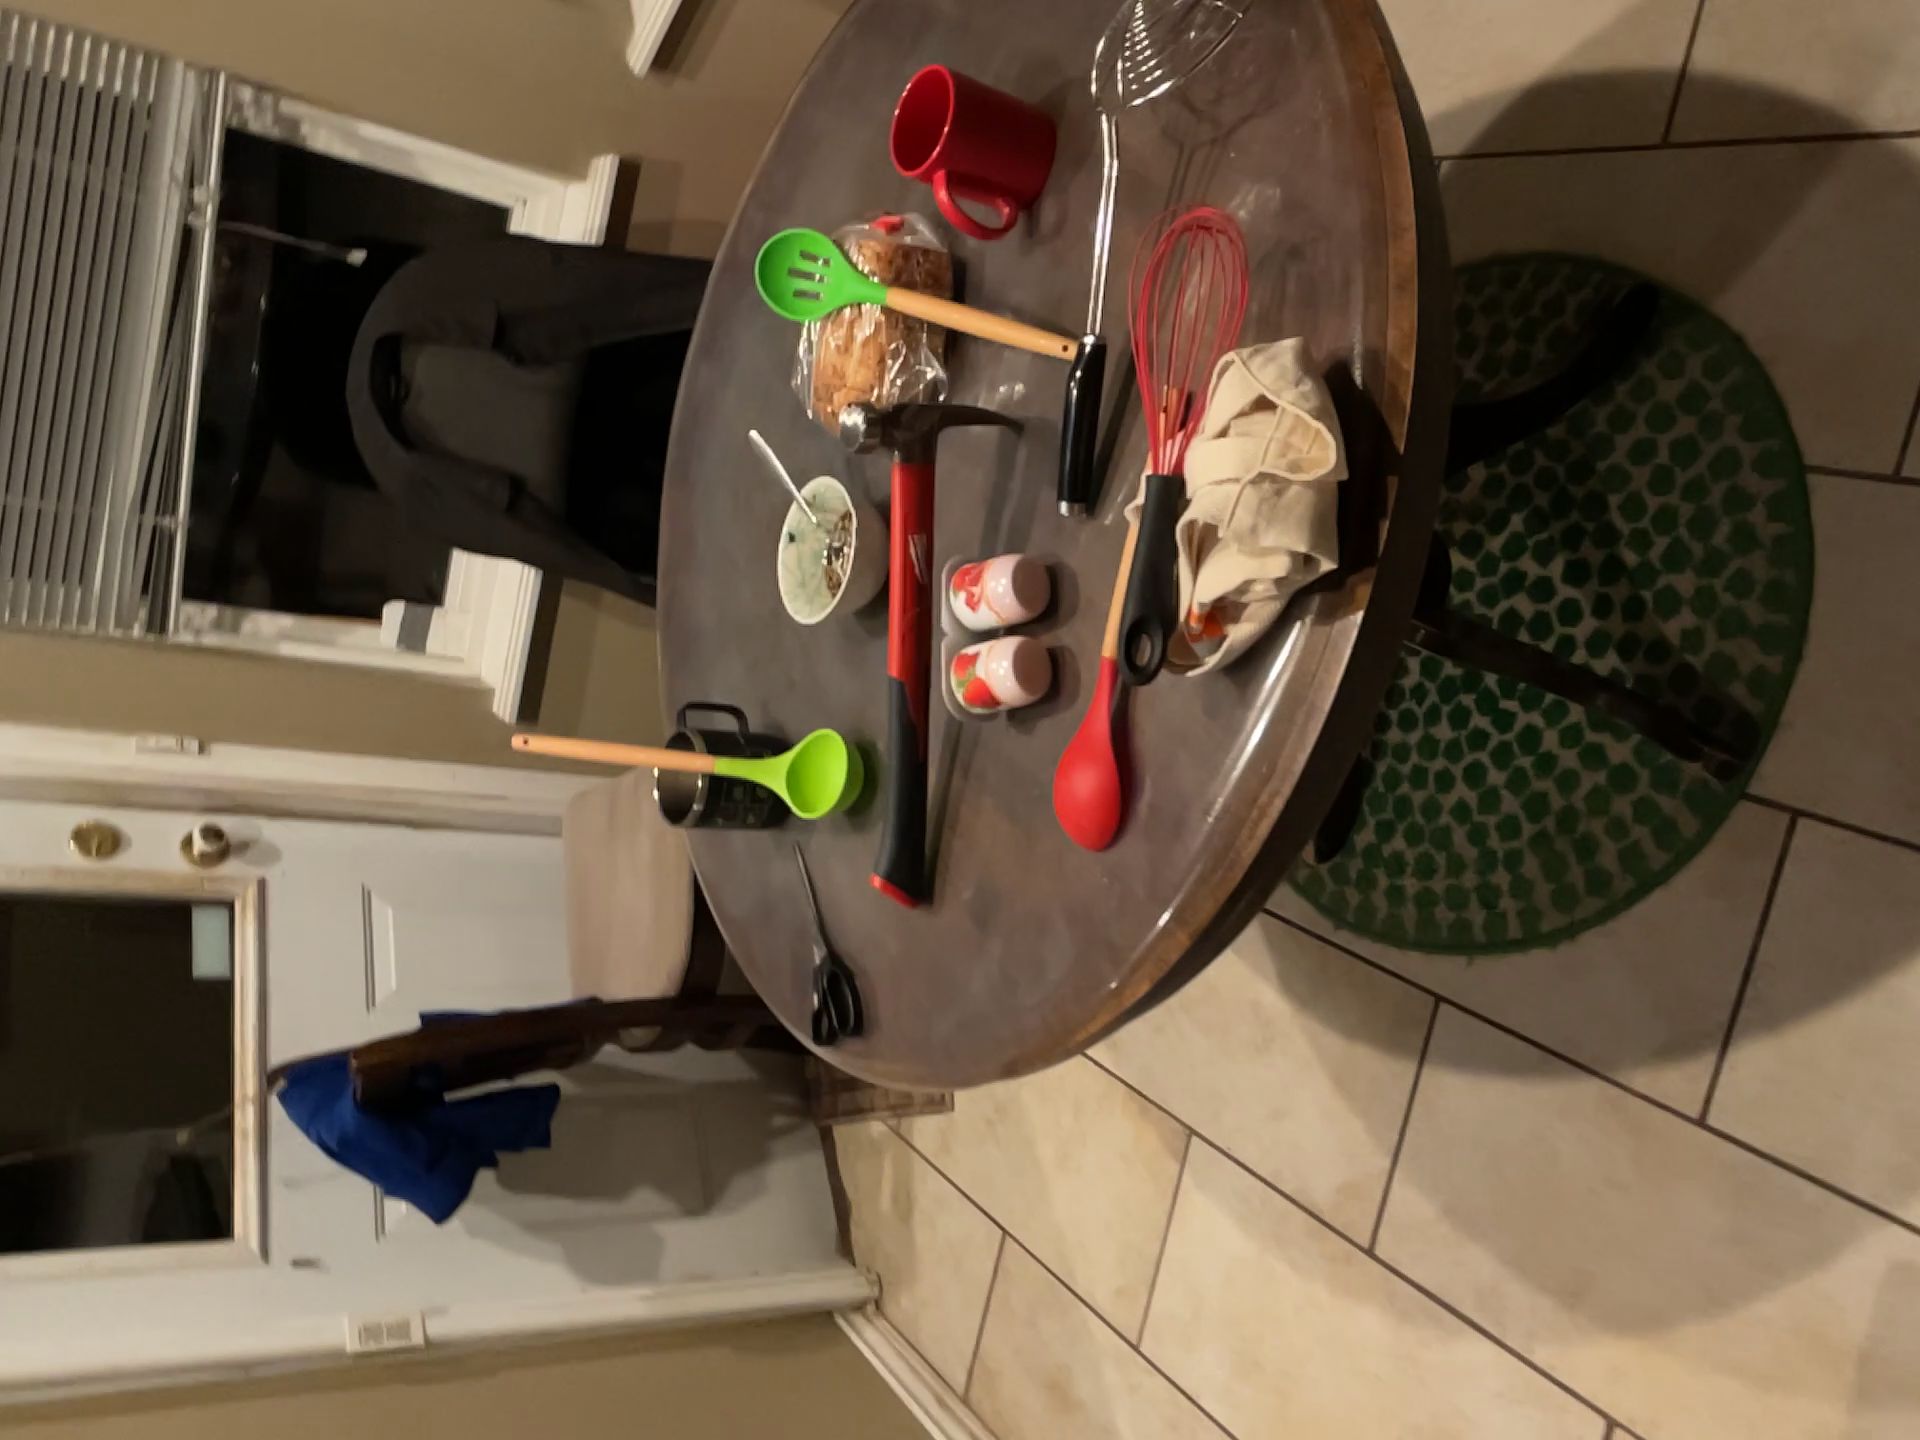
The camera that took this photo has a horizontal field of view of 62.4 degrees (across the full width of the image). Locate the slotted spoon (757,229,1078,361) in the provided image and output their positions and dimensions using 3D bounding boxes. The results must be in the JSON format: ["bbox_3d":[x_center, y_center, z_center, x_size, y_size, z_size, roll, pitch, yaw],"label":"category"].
[{"bbox_3d":[-0.032,-0.315,1.211,0.314,0.031,0.070,24,110,30],"label":"slotted spoon"}]

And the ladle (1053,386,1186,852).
[{"bbox_3d":[0.110,-0.066,1.059,0.069,0.031,0.315,19,98,54],"label":"ladle"}]

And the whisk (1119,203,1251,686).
[{"bbox_3d":[0.129,-0.168,0.965,0.073,0.073,0.296,9,92,53],"label":"whisk"}]

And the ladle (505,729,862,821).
[{"bbox_3d":[-0.238,0.034,1.342,0.062,0.320,0.078,68,-150,-71],"label":"ladle"}]

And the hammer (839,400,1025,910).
[{"bbox_3d":[-0.024,-0.046,1.203,0.038,0.143,0.386,20,113,55],"label":"hammer"}]

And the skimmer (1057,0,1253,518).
[{"bbox_3d":[0.124,-0.318,1.079,0.127,0.090,0.363,-143,55,-60],"label":"skimmer"}]
